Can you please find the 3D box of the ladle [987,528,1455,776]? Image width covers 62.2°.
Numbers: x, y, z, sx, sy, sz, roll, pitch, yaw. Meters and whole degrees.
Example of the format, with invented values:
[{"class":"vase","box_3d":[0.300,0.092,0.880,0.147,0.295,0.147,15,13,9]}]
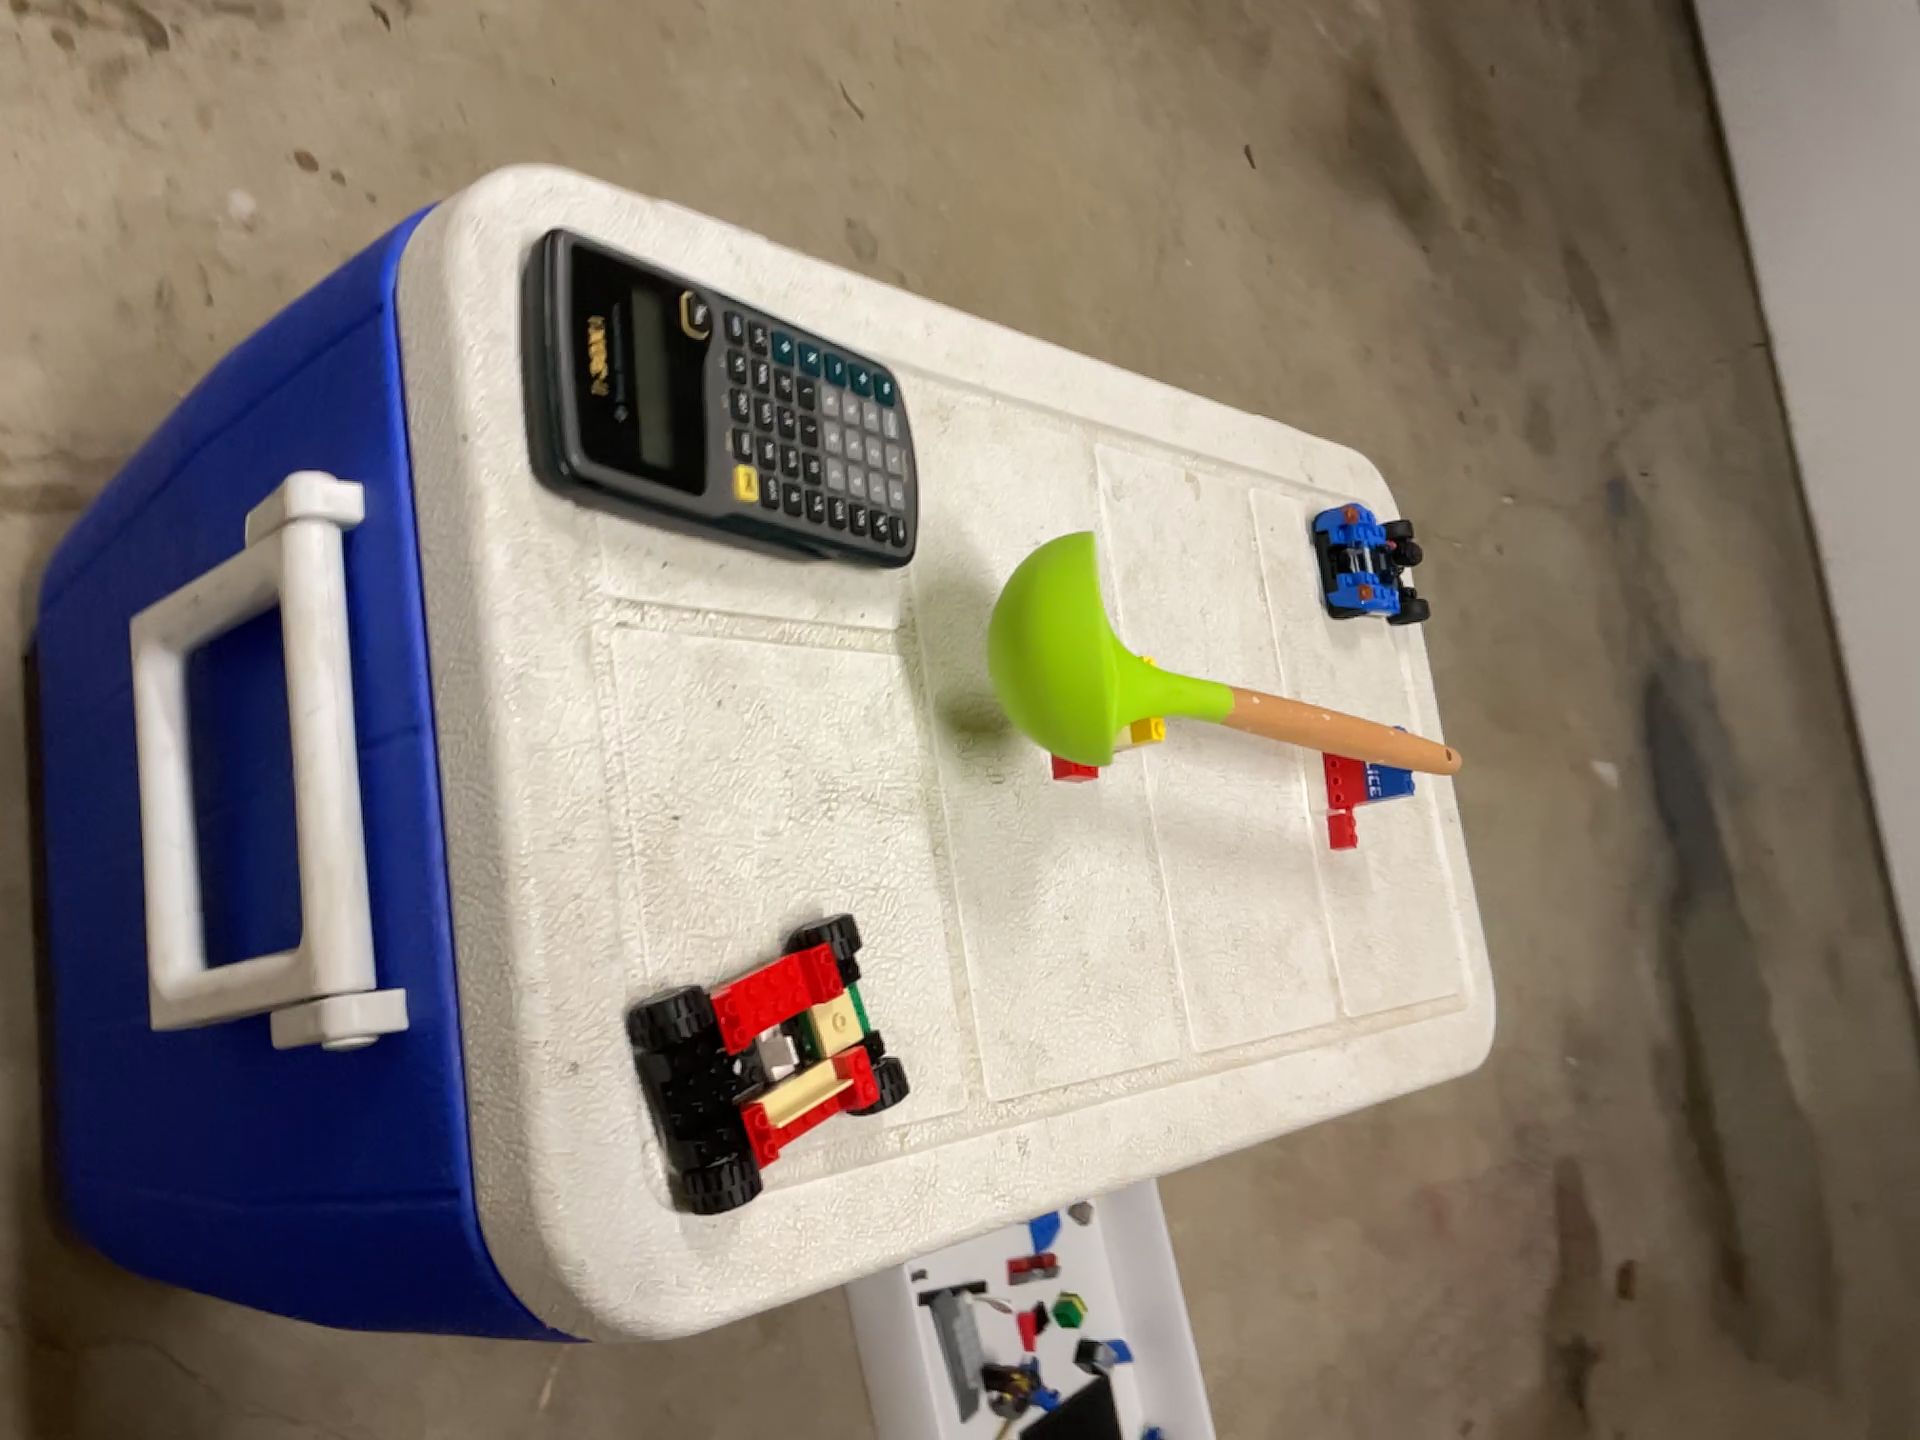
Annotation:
[{"class":"ladle","box_3d":[0.124,-0.006,0.621,0.320,0.062,0.078,12,68,-46]}]
